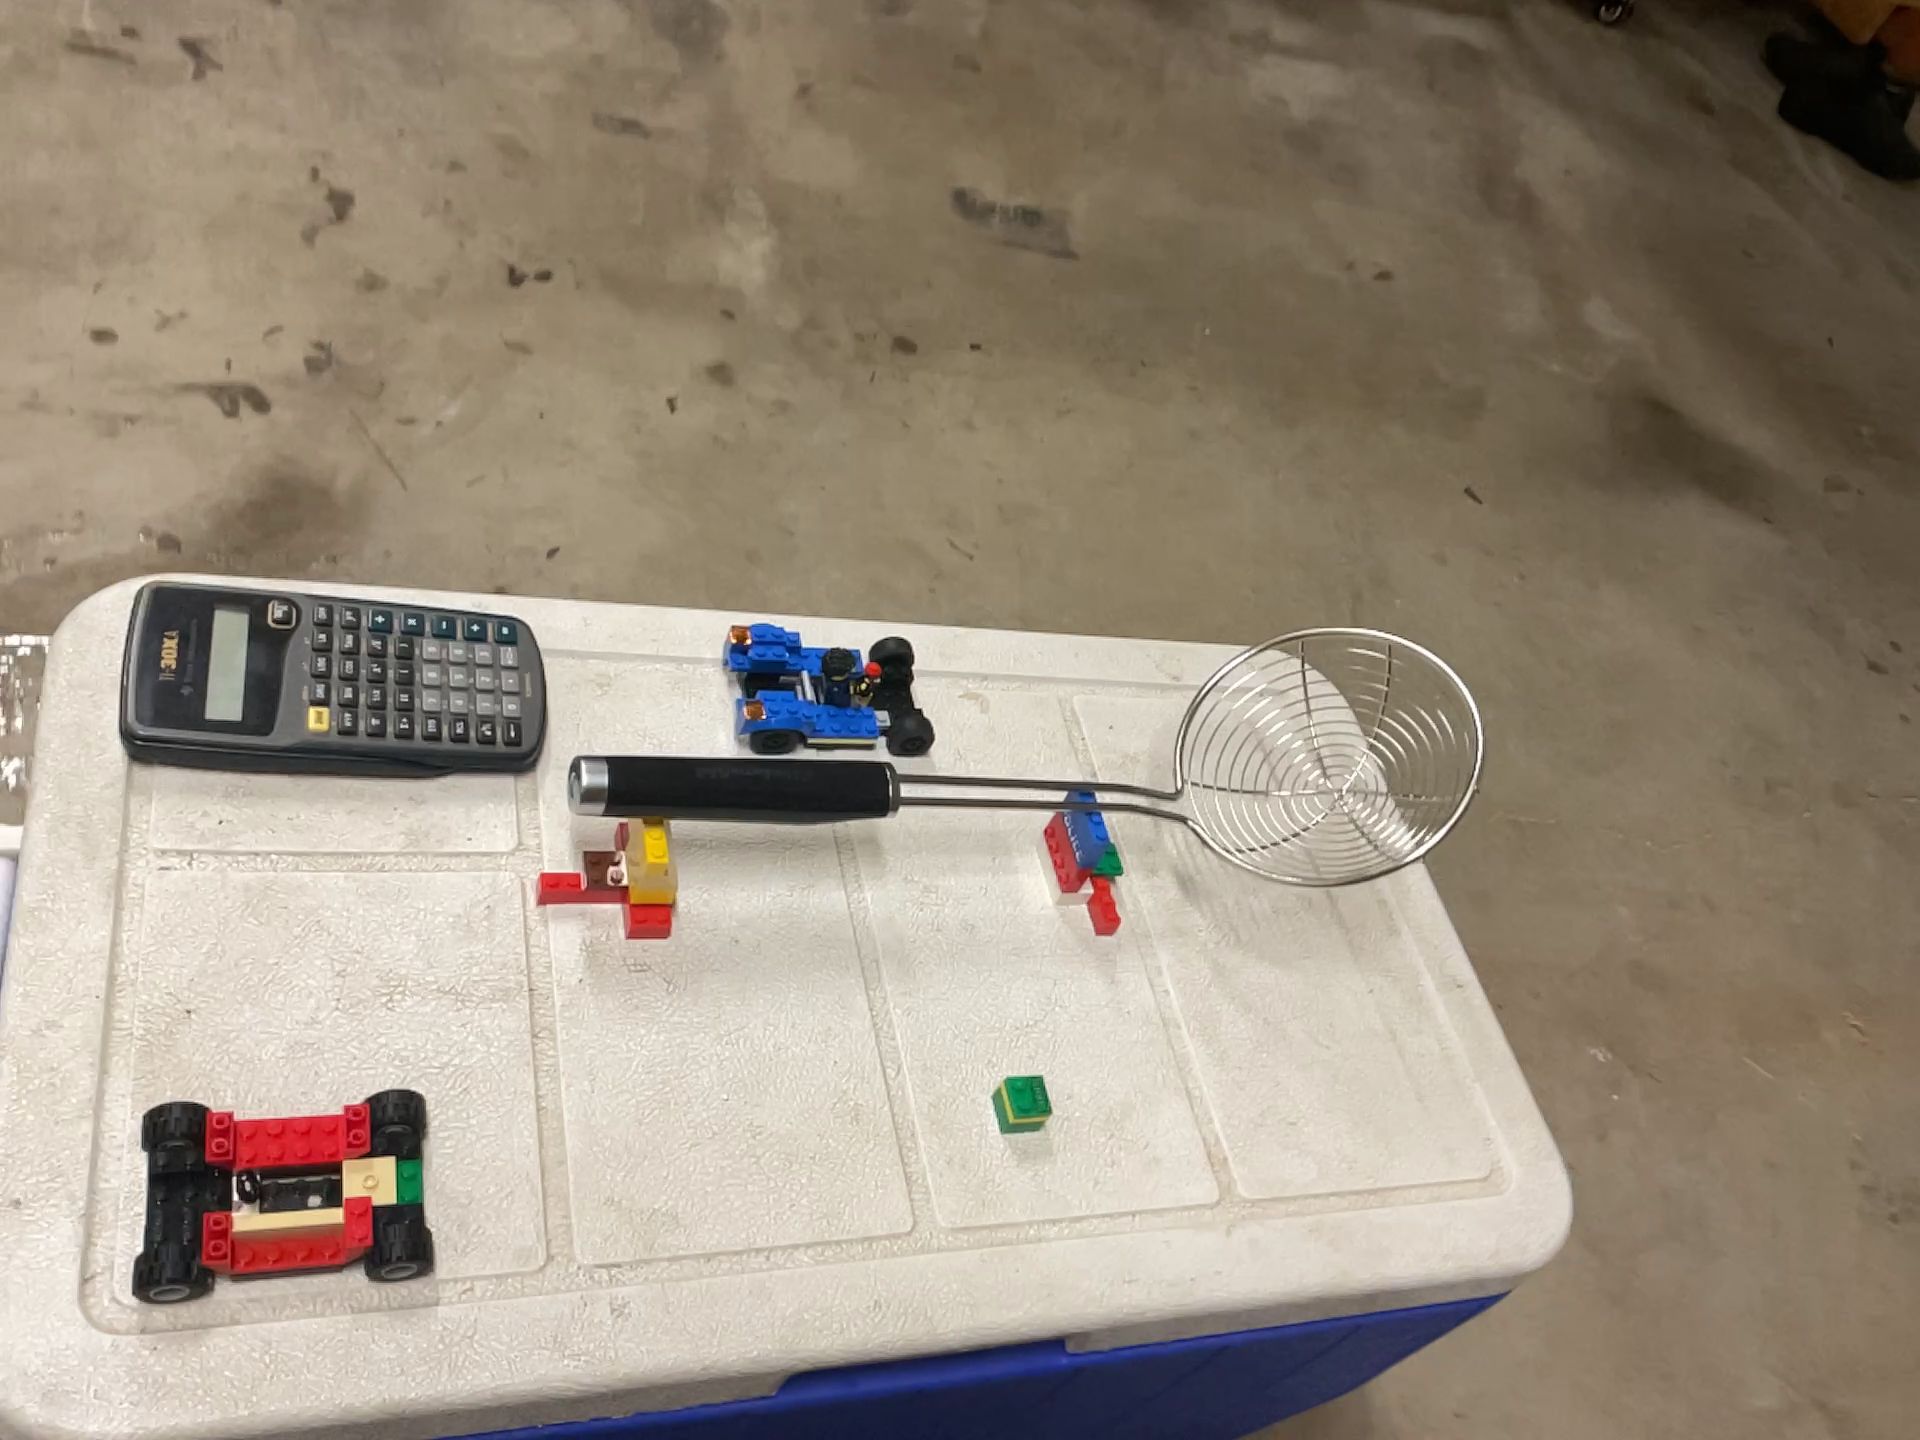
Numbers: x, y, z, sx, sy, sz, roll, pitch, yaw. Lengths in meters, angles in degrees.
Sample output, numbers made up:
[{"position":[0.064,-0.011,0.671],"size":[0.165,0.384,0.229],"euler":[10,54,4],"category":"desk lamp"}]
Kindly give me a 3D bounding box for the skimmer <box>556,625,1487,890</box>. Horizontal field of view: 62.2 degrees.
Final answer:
[{"position":[0.034,0.010,0.614],"size":[0.363,0.089,0.128],"euler":[2,49,-25],"category":"skimmer"}]
